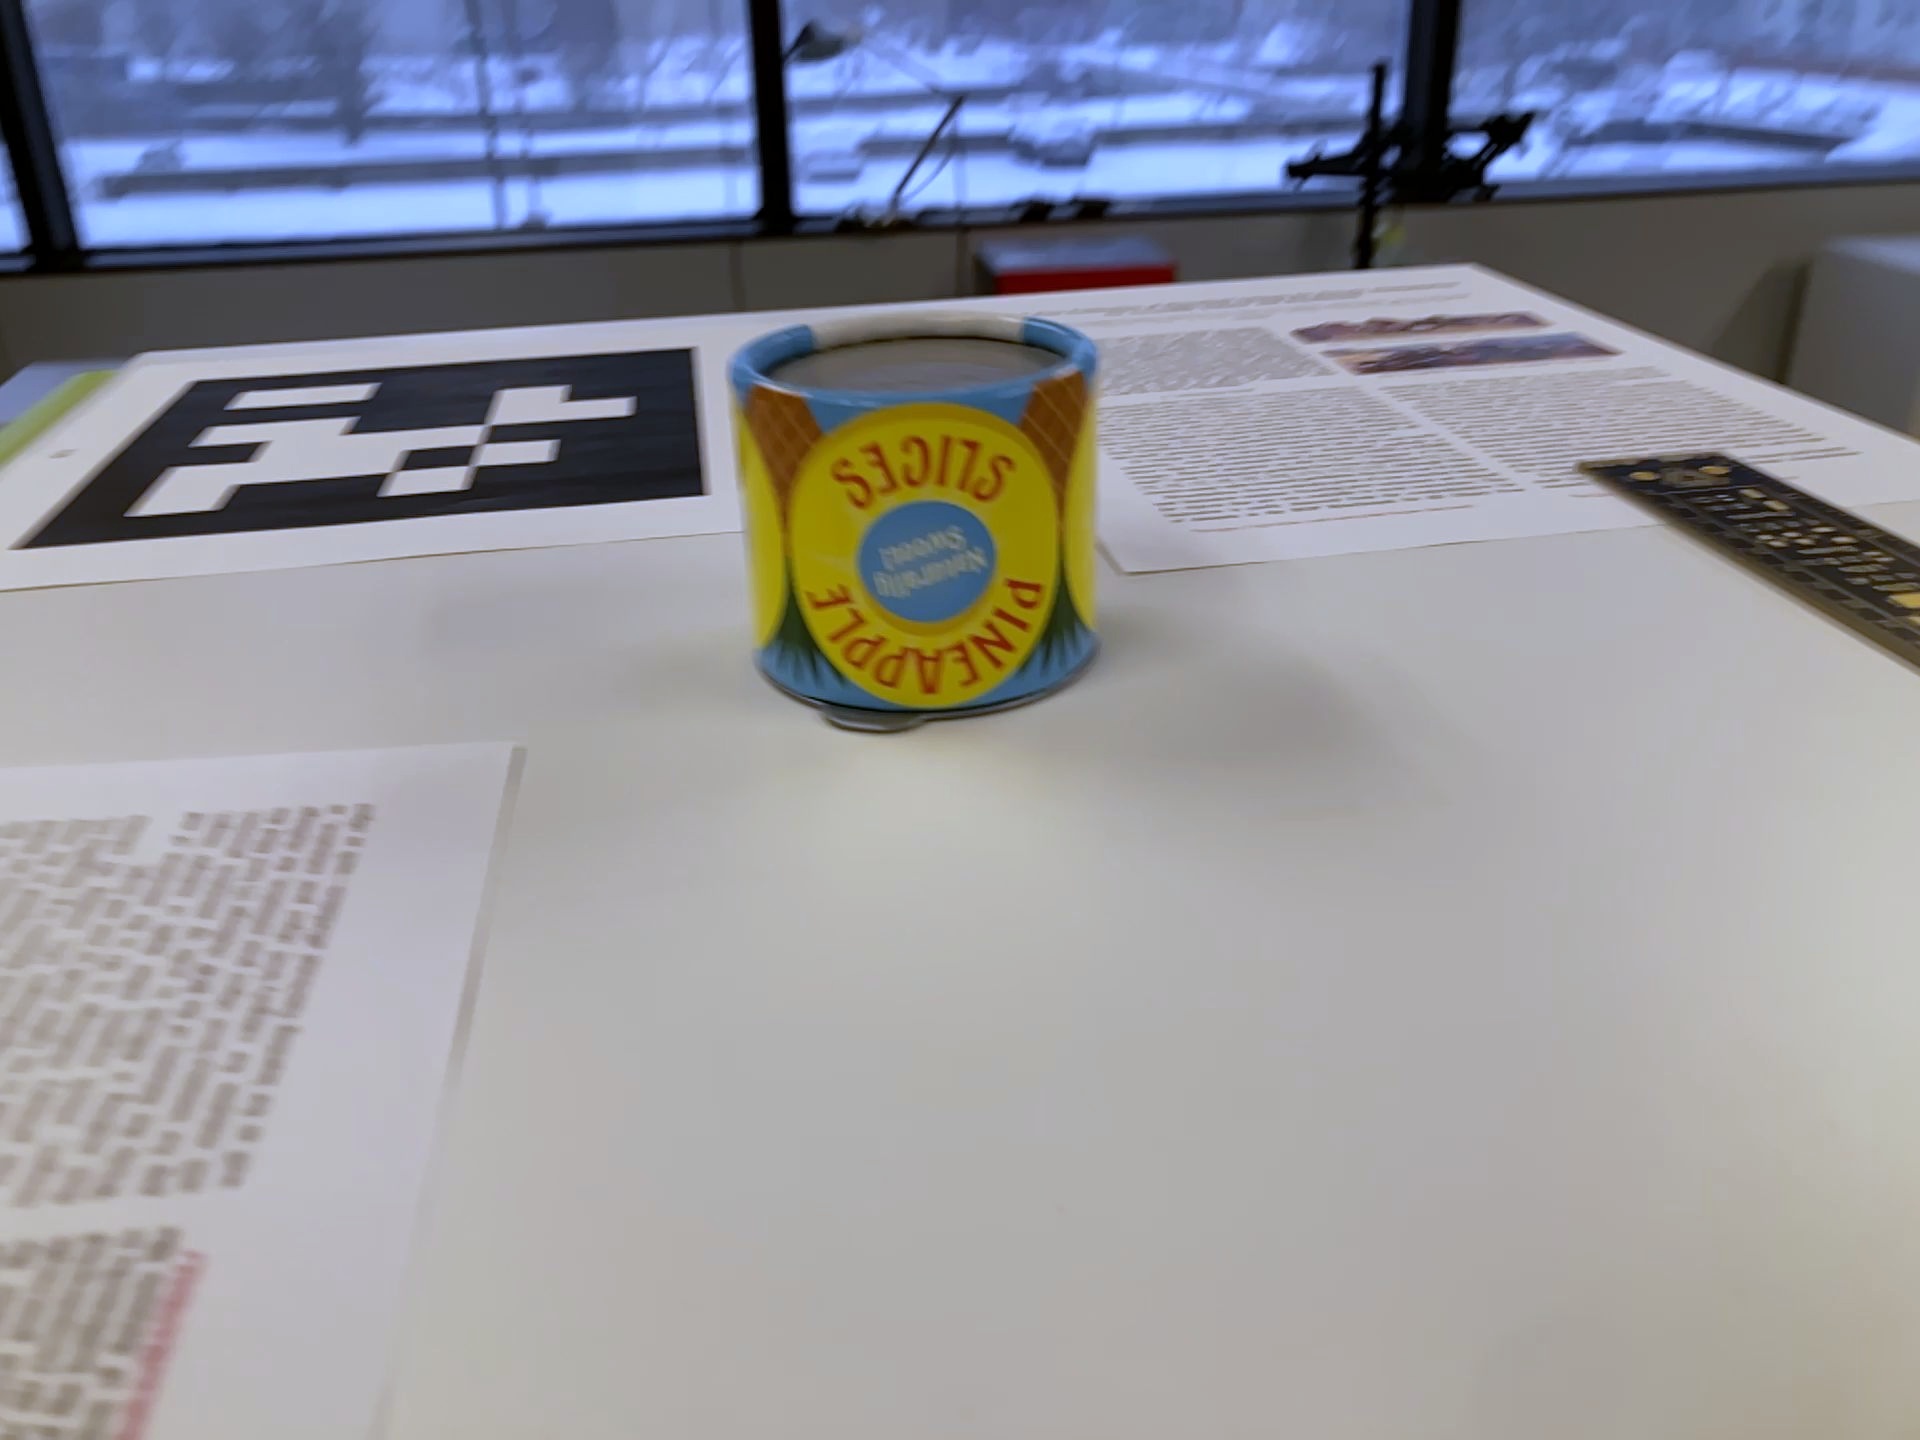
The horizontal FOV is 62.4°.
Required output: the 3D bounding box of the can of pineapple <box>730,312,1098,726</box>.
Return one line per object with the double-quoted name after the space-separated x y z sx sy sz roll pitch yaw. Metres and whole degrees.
-0.007 -0.040 0.292 0.071 0.058 0.071 -2 26 1 "can of pineapple"
